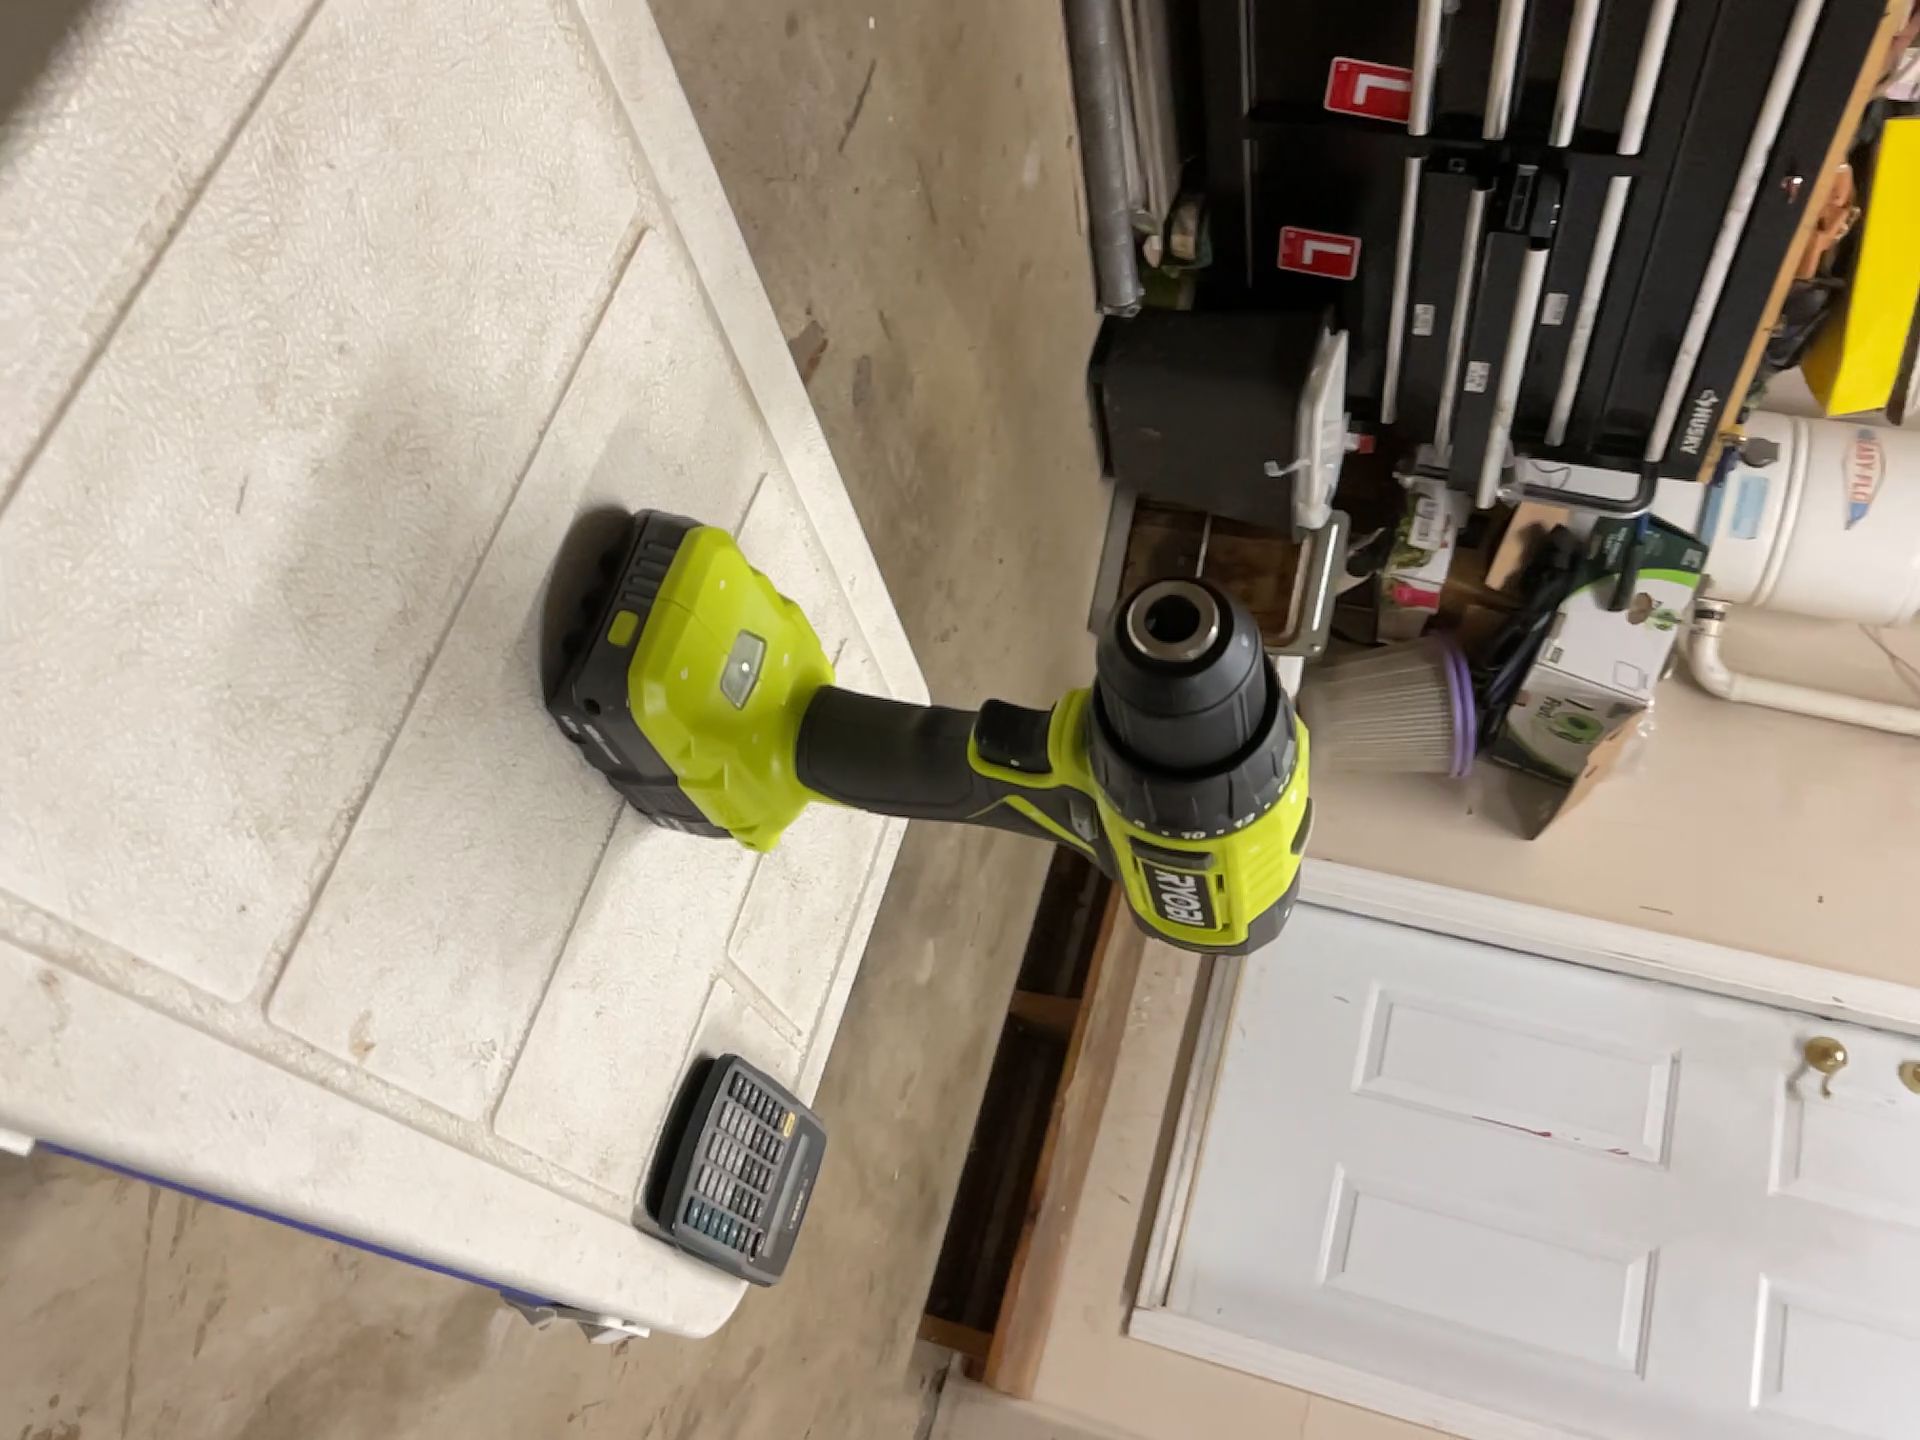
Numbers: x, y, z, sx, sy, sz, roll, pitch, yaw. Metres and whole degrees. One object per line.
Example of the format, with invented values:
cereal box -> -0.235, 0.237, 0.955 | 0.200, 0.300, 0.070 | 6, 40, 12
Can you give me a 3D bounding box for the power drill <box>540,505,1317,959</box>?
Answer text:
power drill -> -0.005, 0.000, 0.492 | 0.190, 0.228, 0.080 | 65, 40, -62
